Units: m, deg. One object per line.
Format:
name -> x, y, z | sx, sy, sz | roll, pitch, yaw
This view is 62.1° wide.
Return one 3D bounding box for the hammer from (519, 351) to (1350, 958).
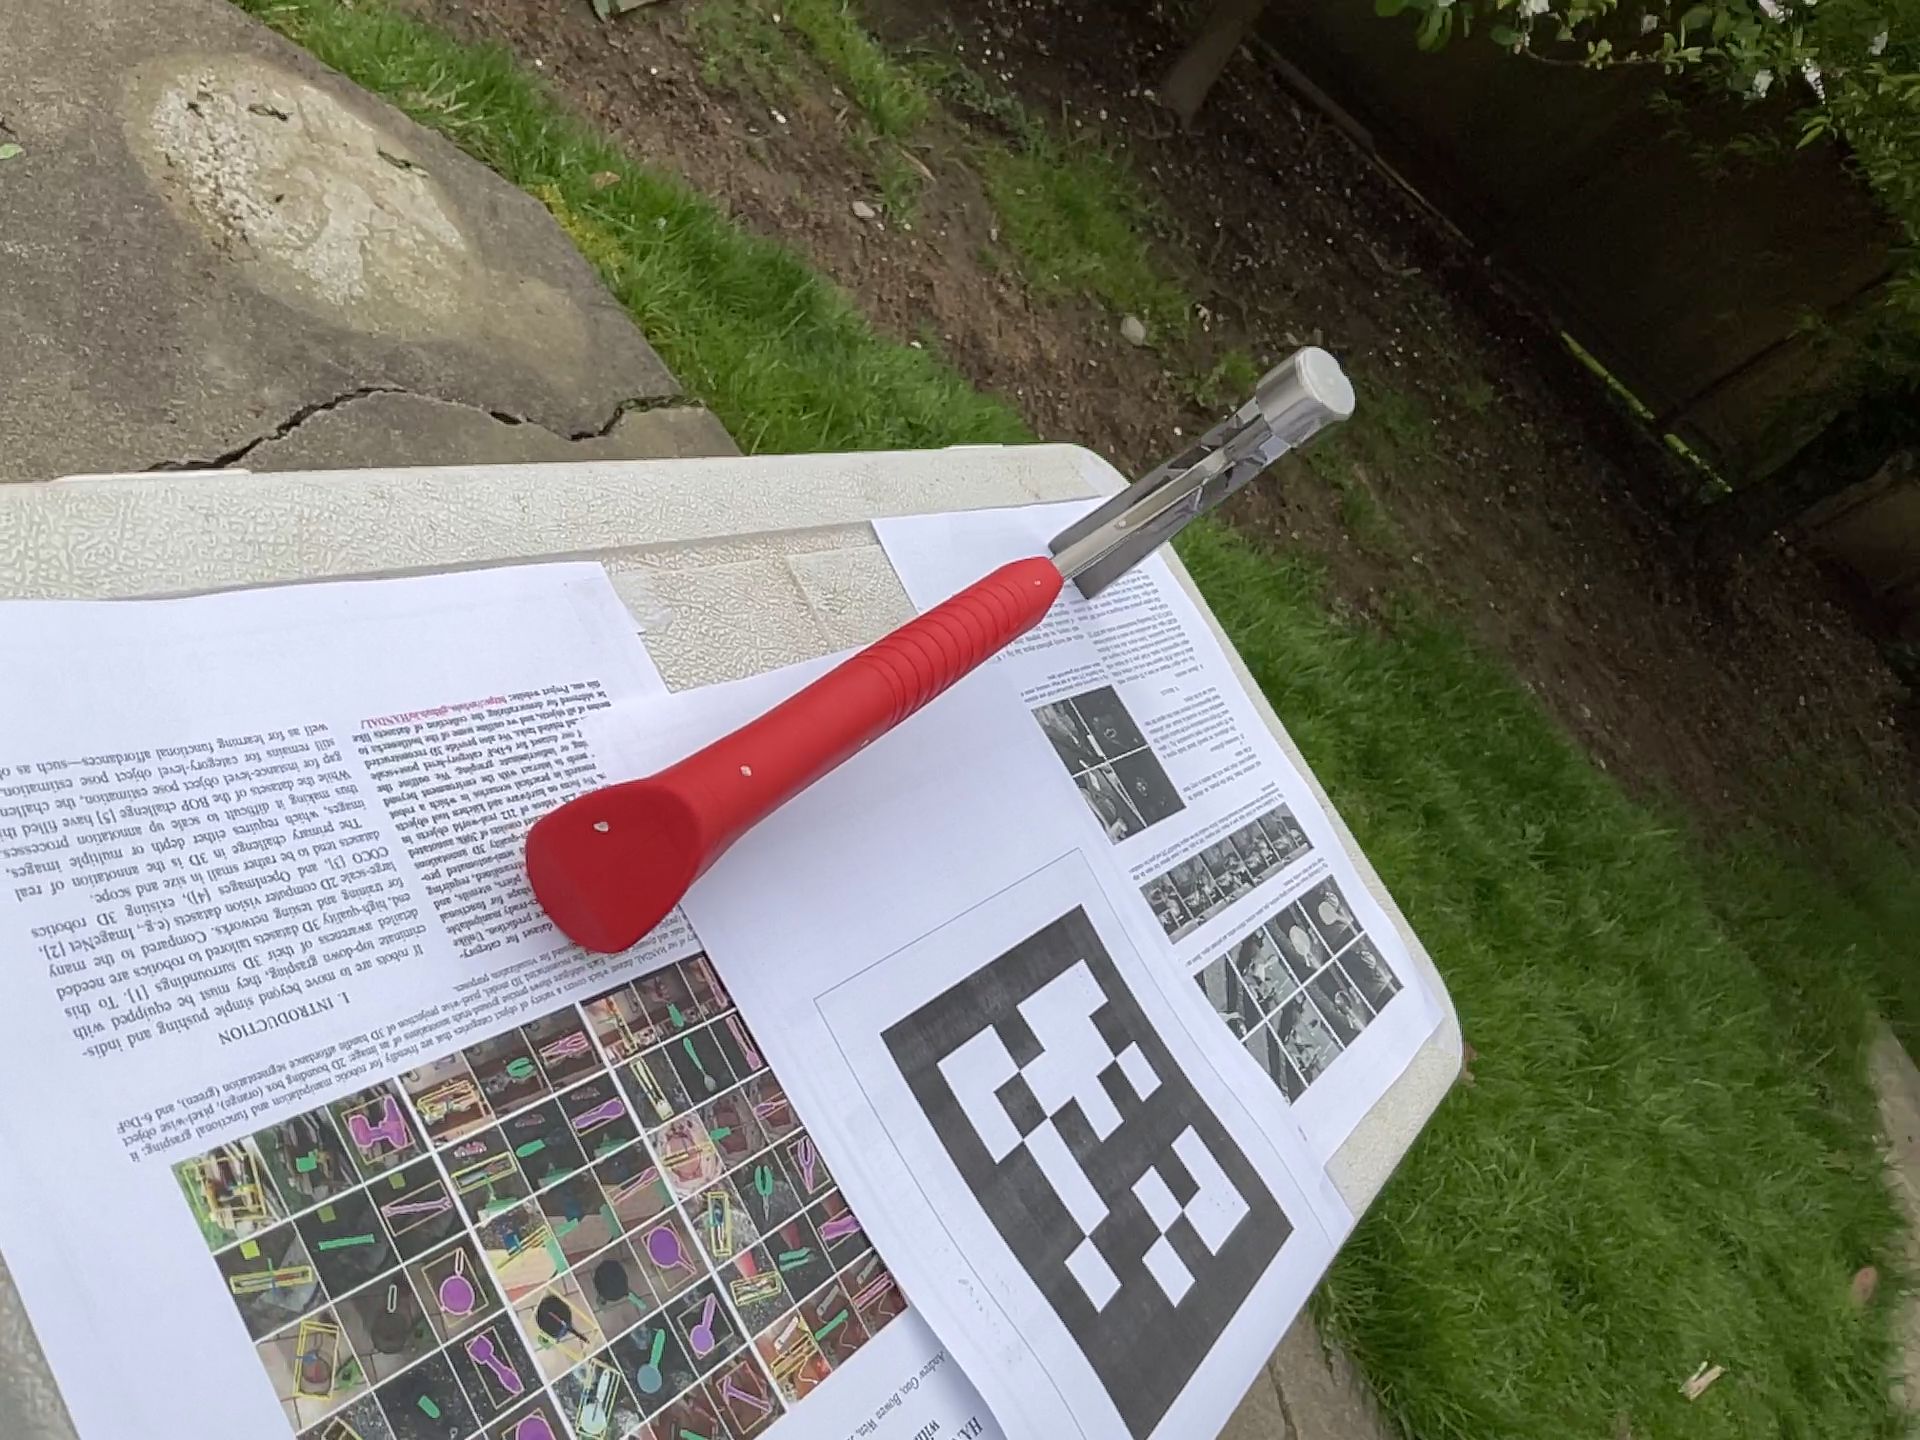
hammer -> 0.000, -0.027, 0.508 | 0.037, 0.149, 0.359 | 55, 42, -1
